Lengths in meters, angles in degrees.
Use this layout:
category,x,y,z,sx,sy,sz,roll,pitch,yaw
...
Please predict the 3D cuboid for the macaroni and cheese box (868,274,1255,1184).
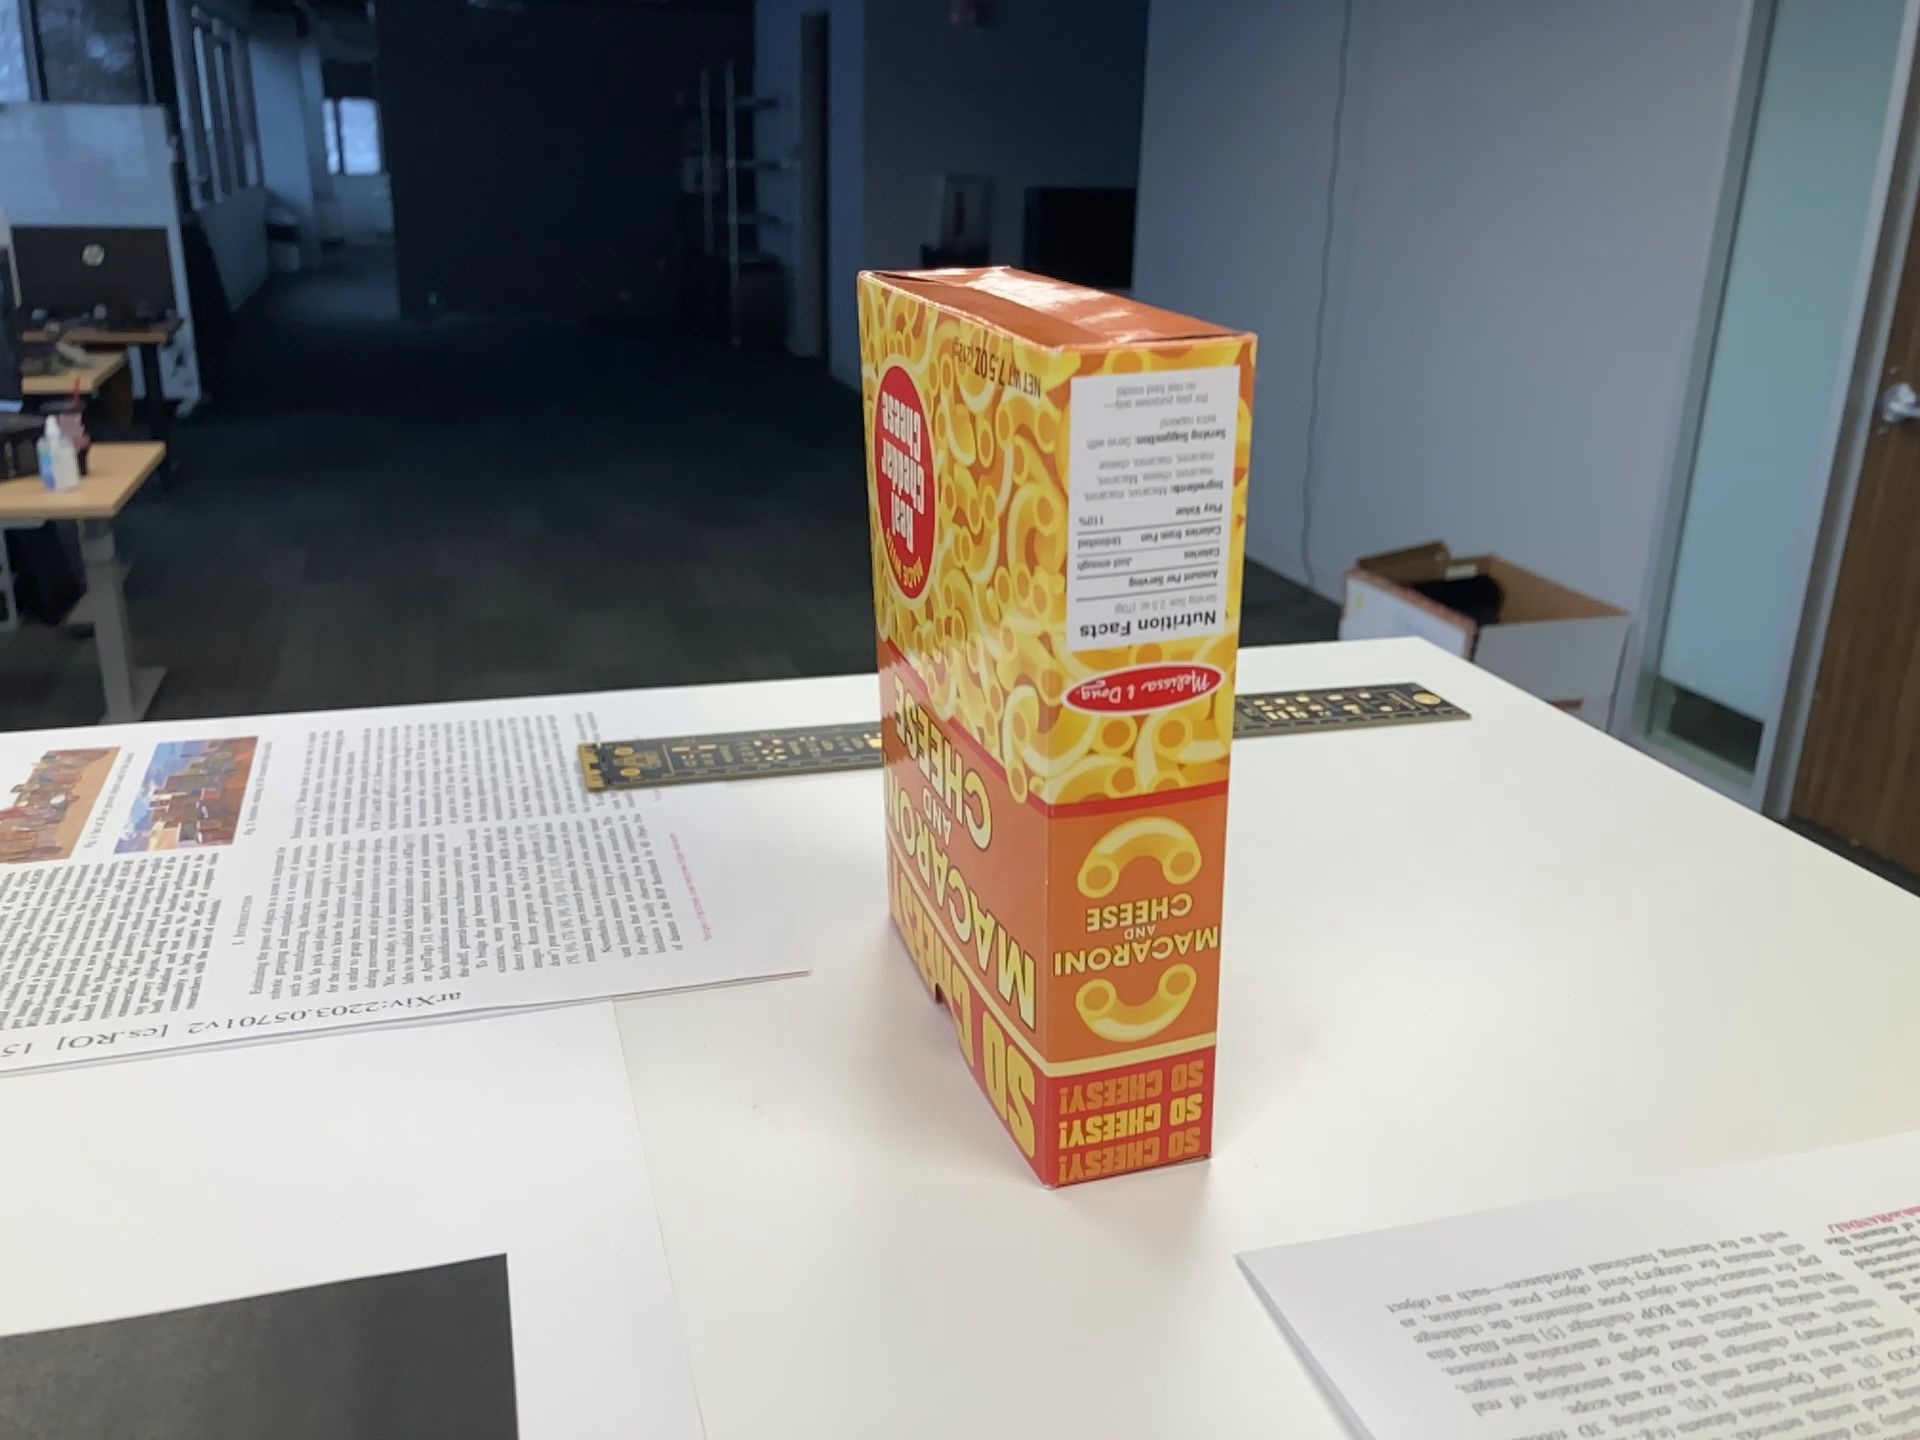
category,x,y,z,sx,sy,sz,roll,pitch,yaw
macaroni and cheese box,0.015,-0.006,0.348,0.040,0.166,0.124,-7,22,-16
